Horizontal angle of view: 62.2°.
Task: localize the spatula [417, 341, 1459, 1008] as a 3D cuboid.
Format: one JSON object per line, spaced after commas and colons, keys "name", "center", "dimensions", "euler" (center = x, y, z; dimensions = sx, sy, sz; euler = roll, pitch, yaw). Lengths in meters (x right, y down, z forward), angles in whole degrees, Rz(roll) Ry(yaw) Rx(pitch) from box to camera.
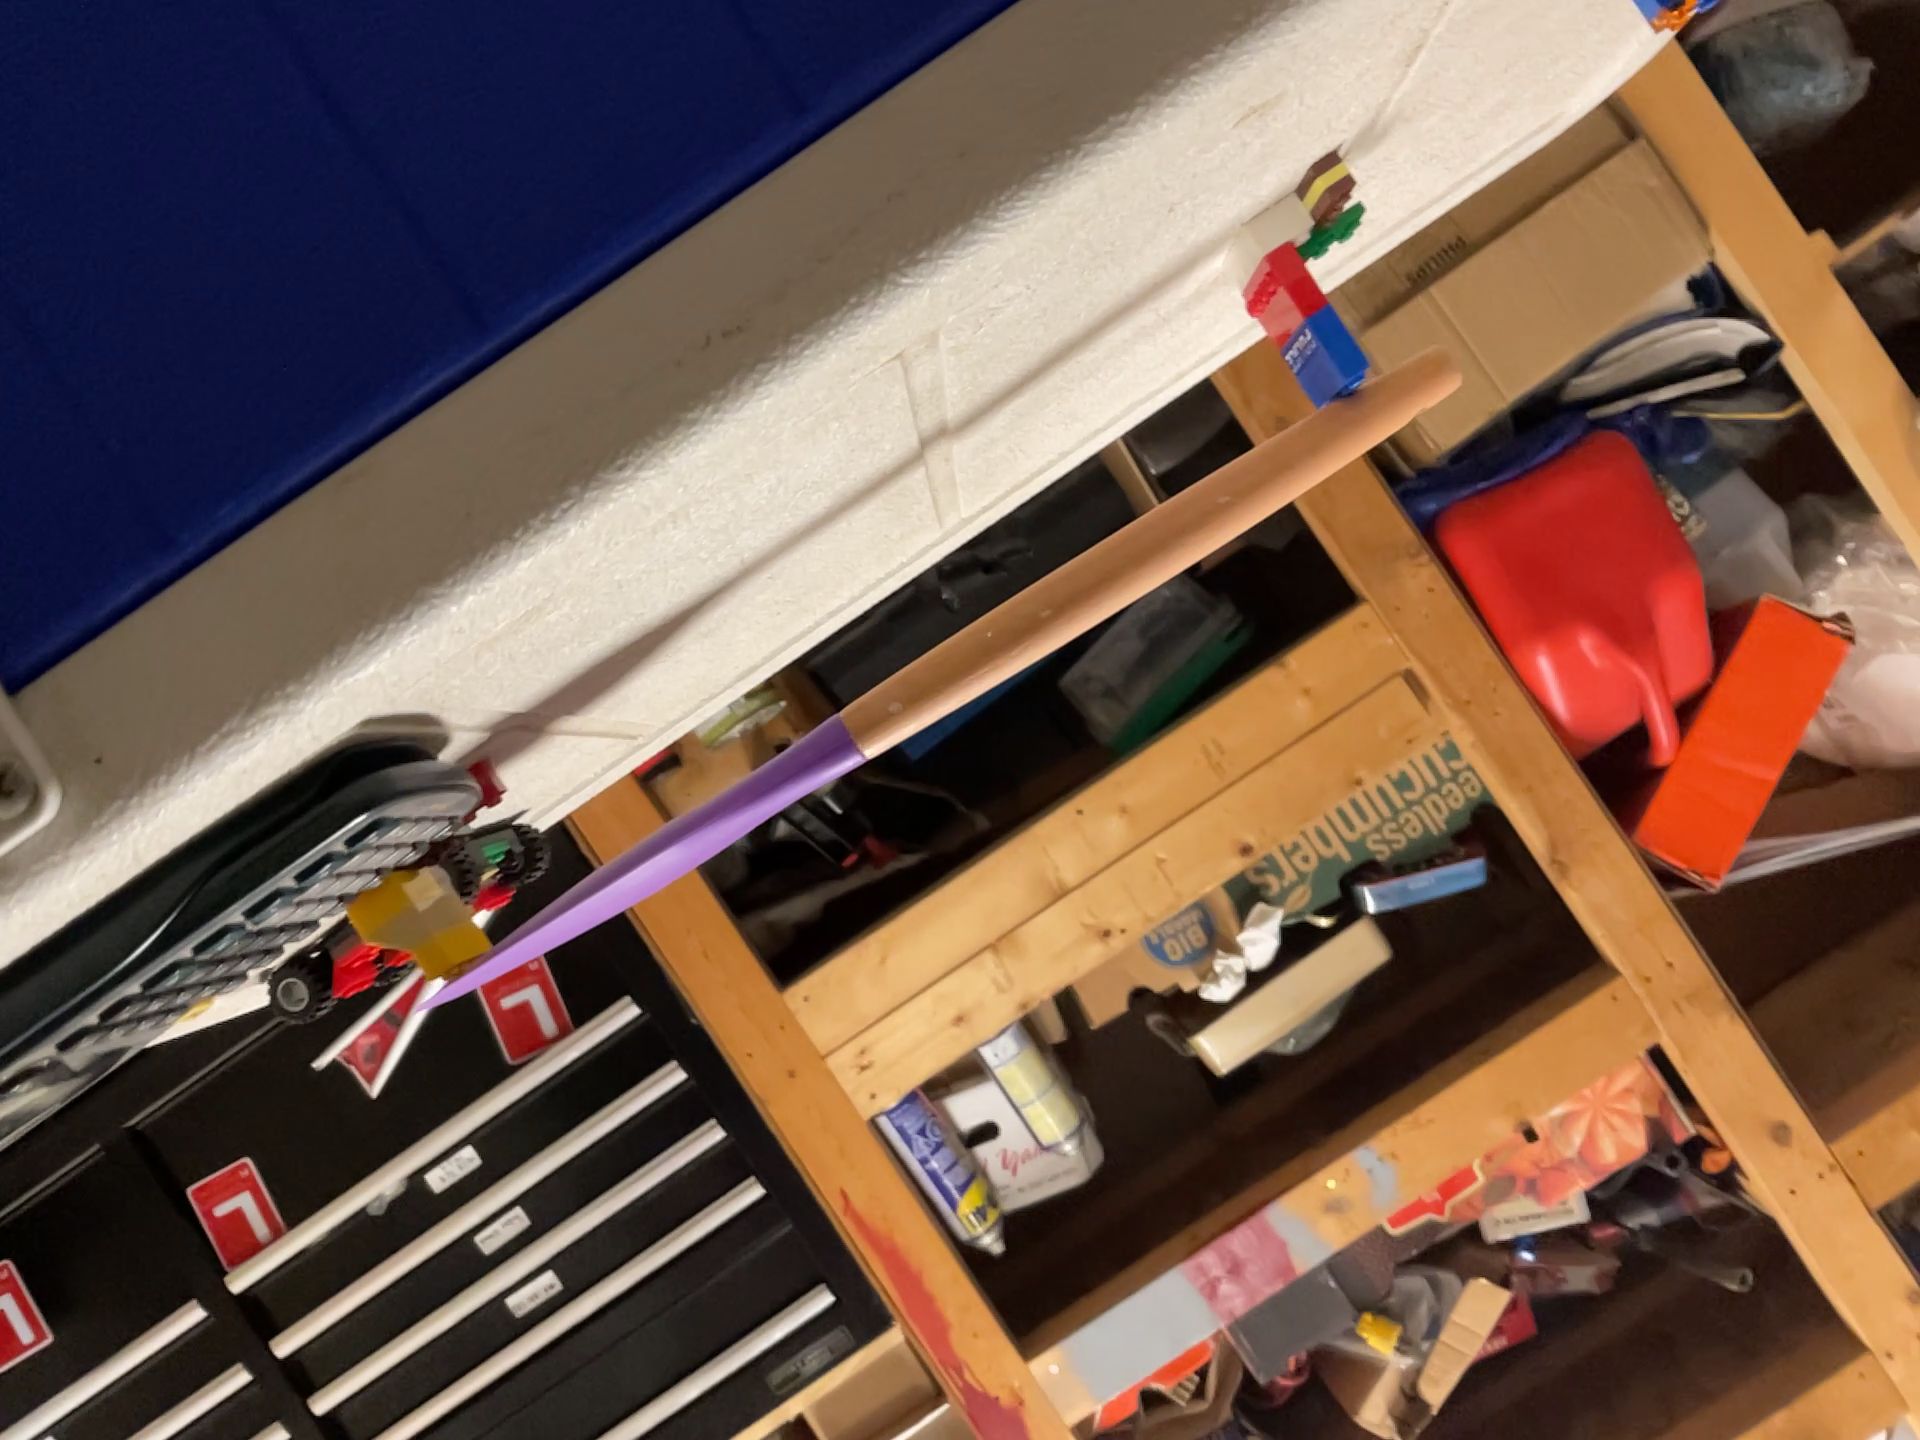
{"name": "spatula", "center": [-0.006, -0.011, 0.424], "dimensions": [0.316, 0.018, 0.060], "euler": [-32, 178, 2]}
